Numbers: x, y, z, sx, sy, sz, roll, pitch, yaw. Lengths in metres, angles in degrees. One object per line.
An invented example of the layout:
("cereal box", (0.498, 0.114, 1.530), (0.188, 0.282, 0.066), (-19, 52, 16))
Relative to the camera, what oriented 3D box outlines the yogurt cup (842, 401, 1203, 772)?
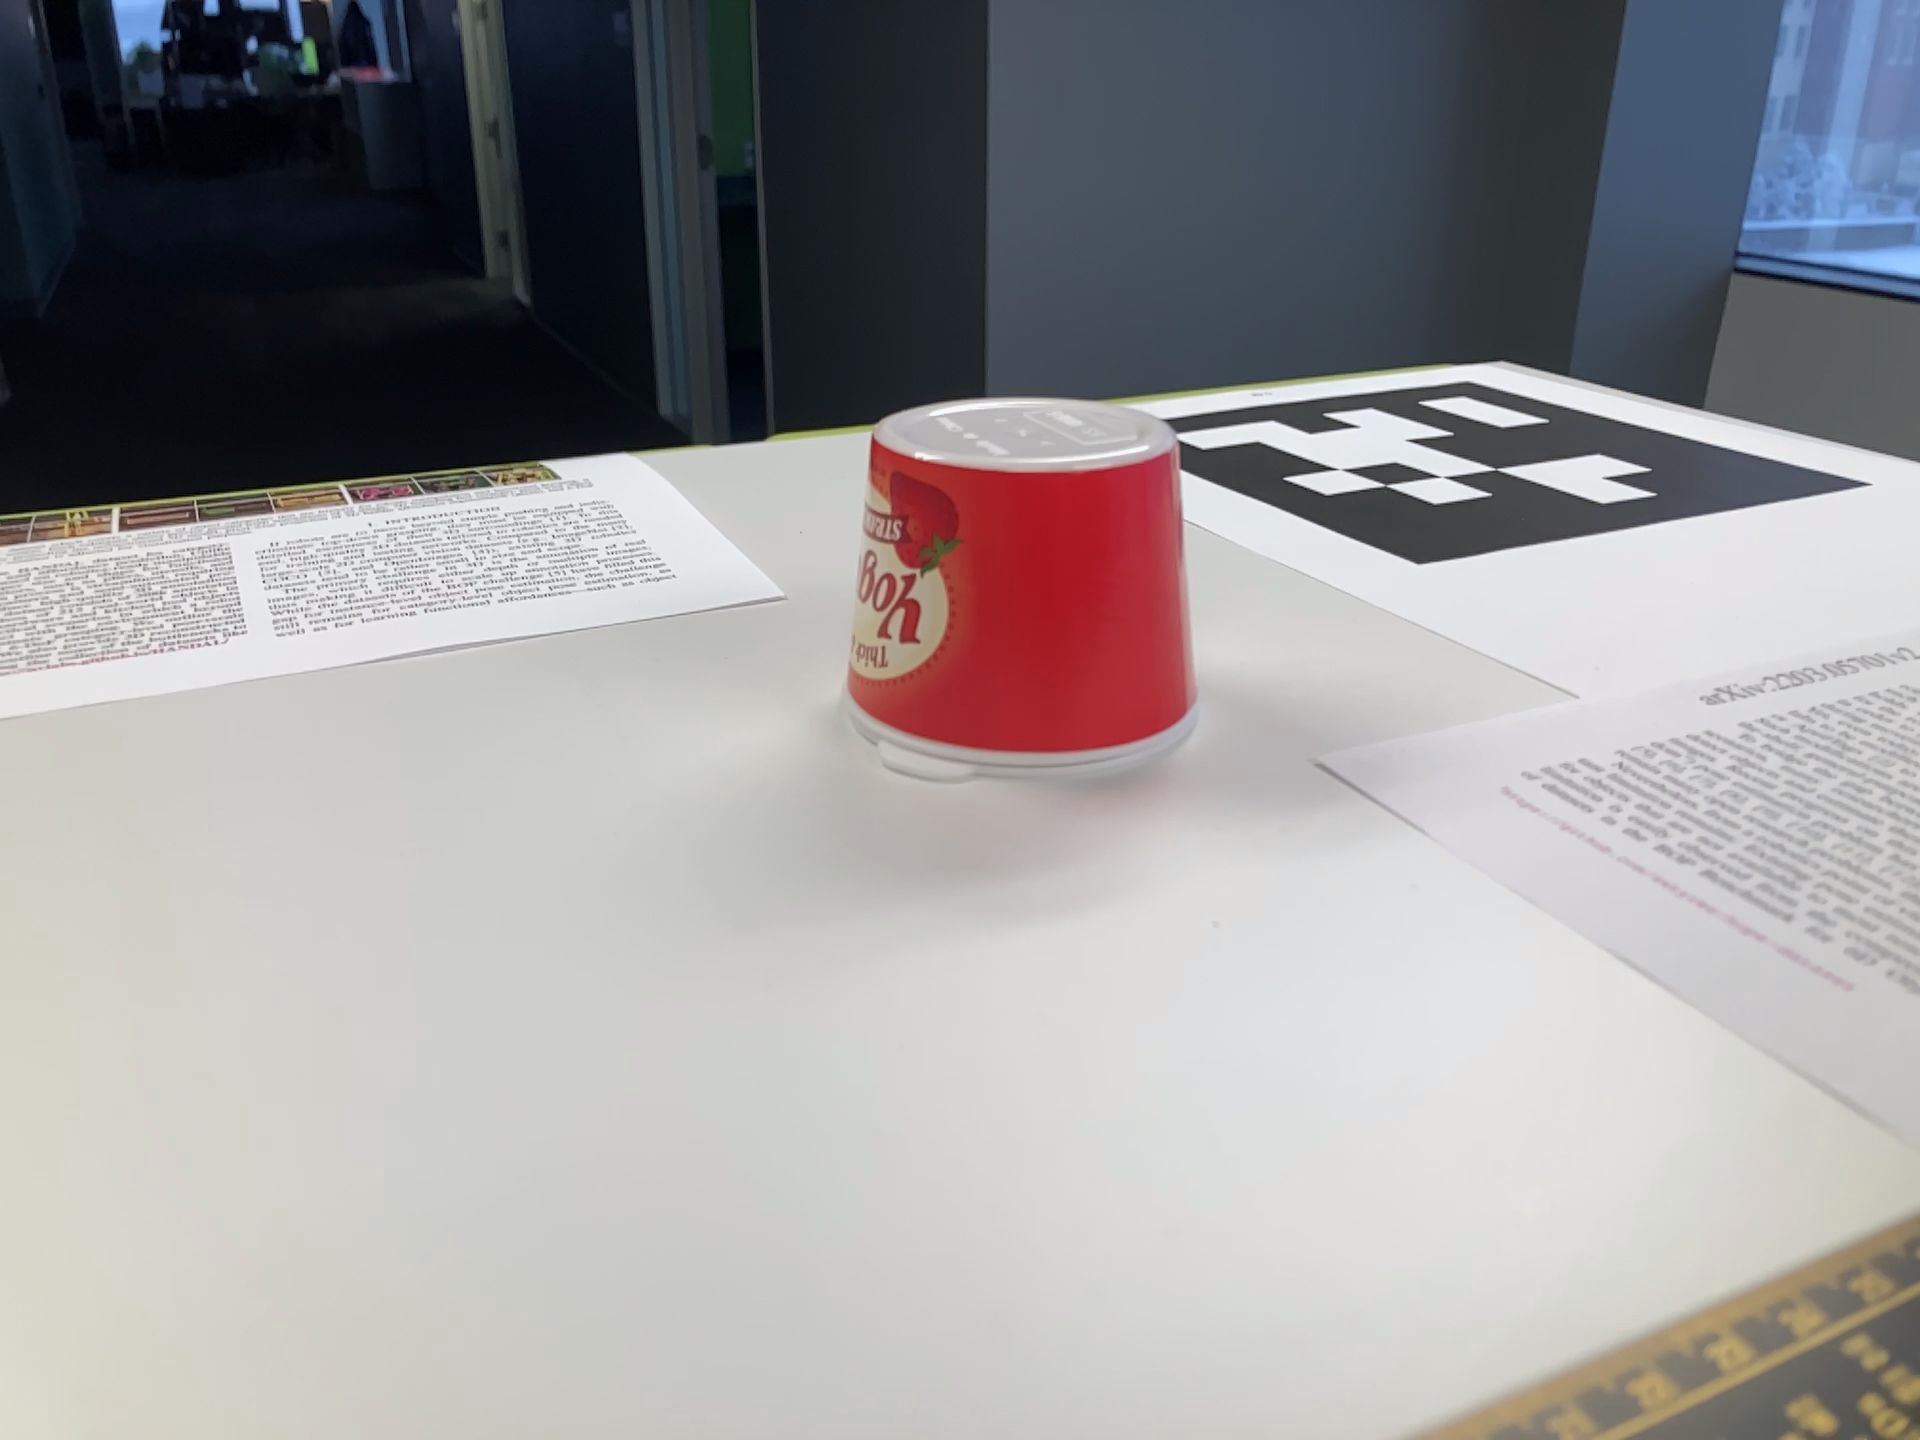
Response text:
("yogurt cup", (0.011, -0.027, 0.291), (0.072, 0.054, 0.072), (0, 22, 0))
